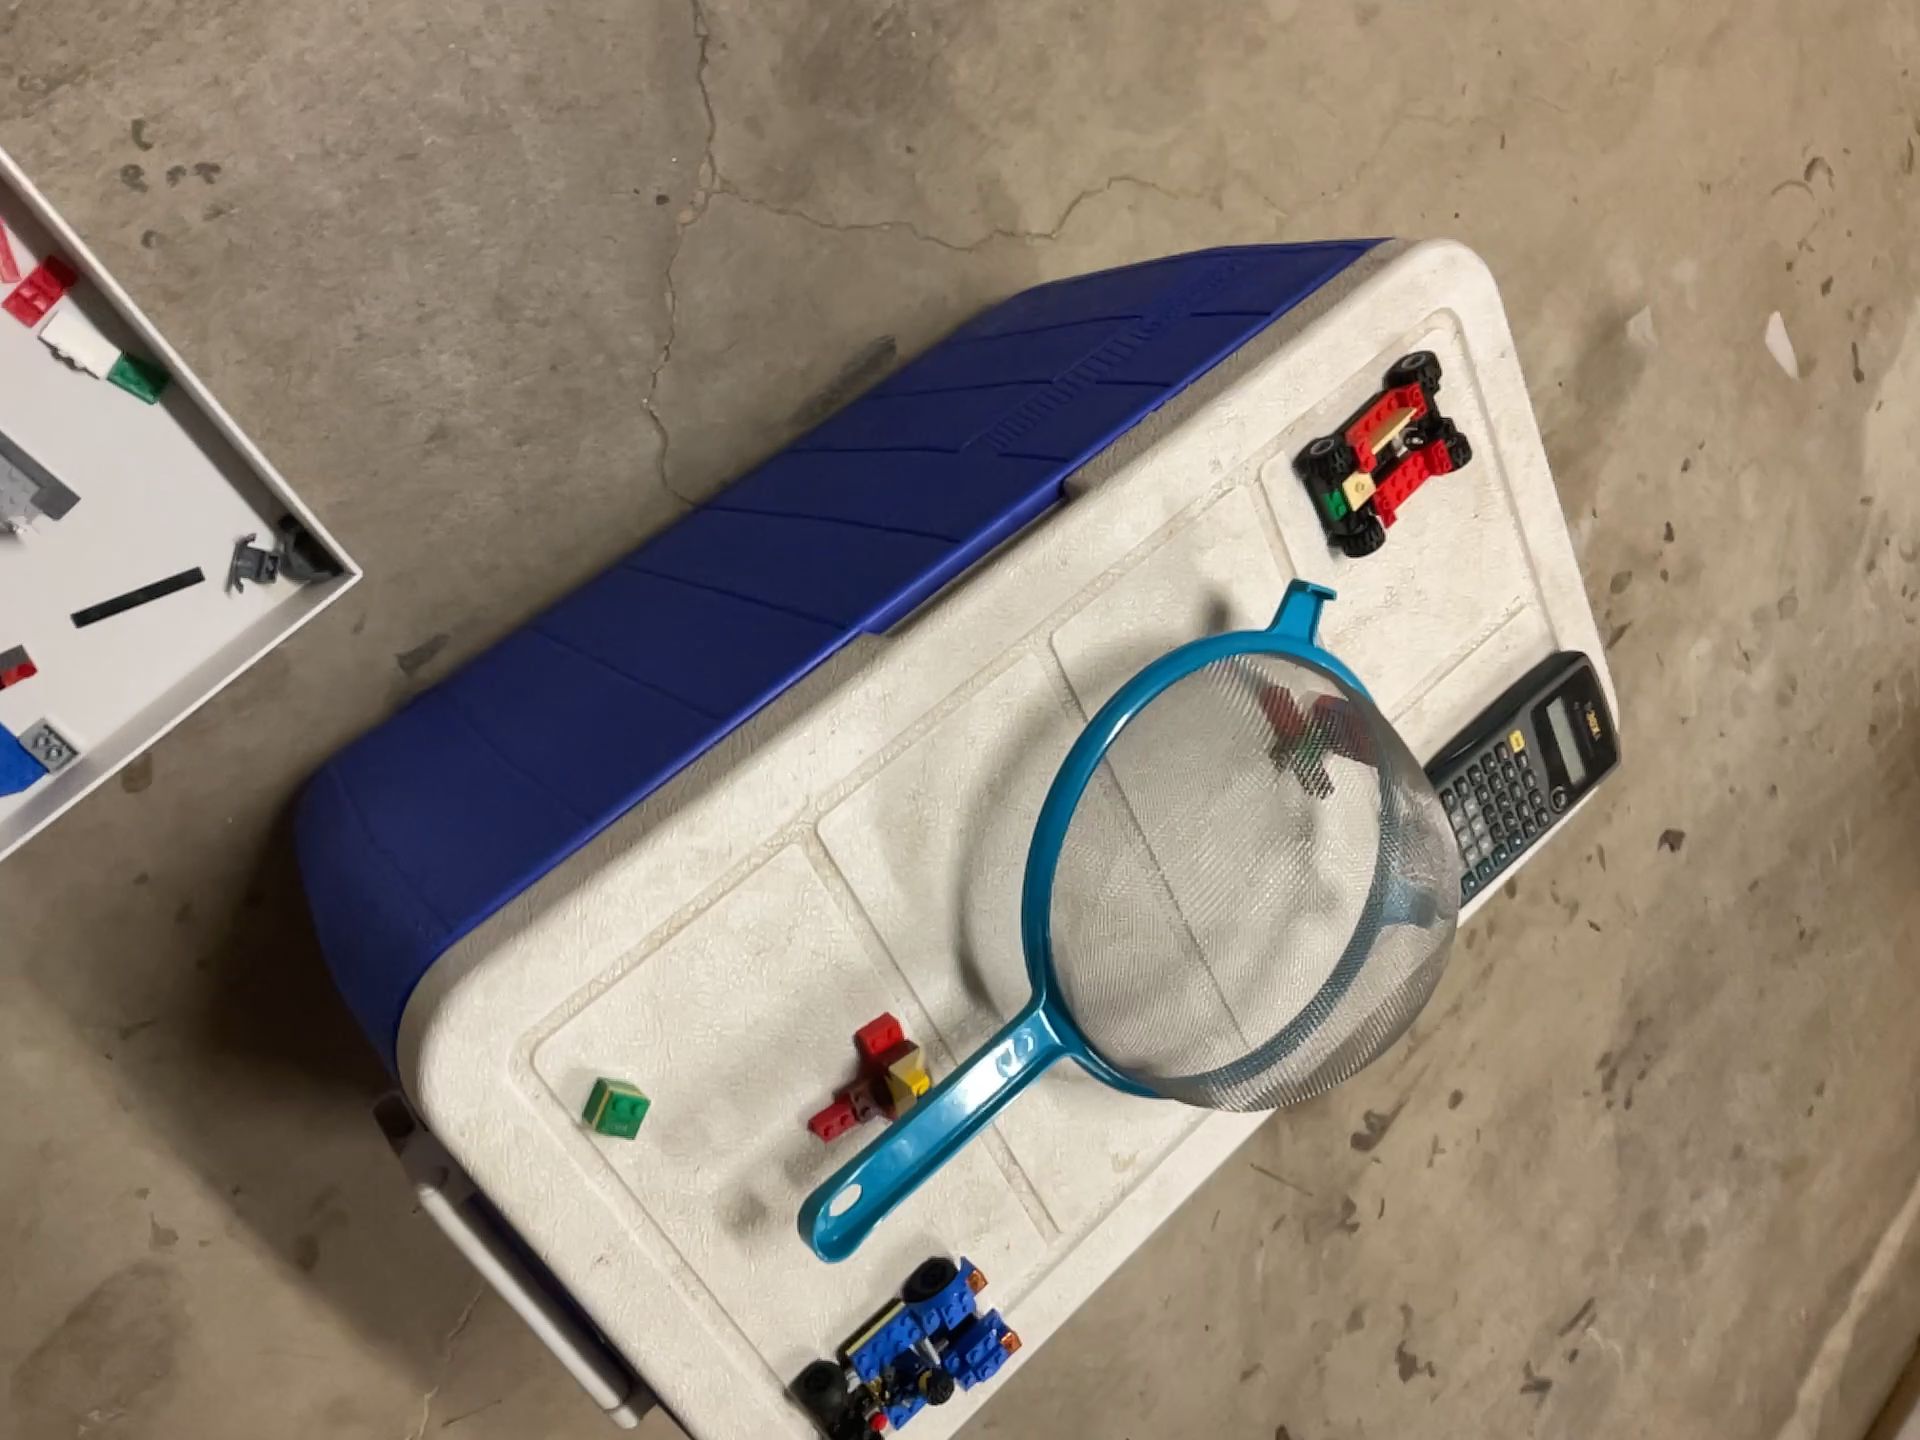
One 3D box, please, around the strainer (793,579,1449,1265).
[{"bbox_3d":[0.086,0.110,0.637,0.340,0.095,0.210,-37,119,-21],"label":"strainer"}]
